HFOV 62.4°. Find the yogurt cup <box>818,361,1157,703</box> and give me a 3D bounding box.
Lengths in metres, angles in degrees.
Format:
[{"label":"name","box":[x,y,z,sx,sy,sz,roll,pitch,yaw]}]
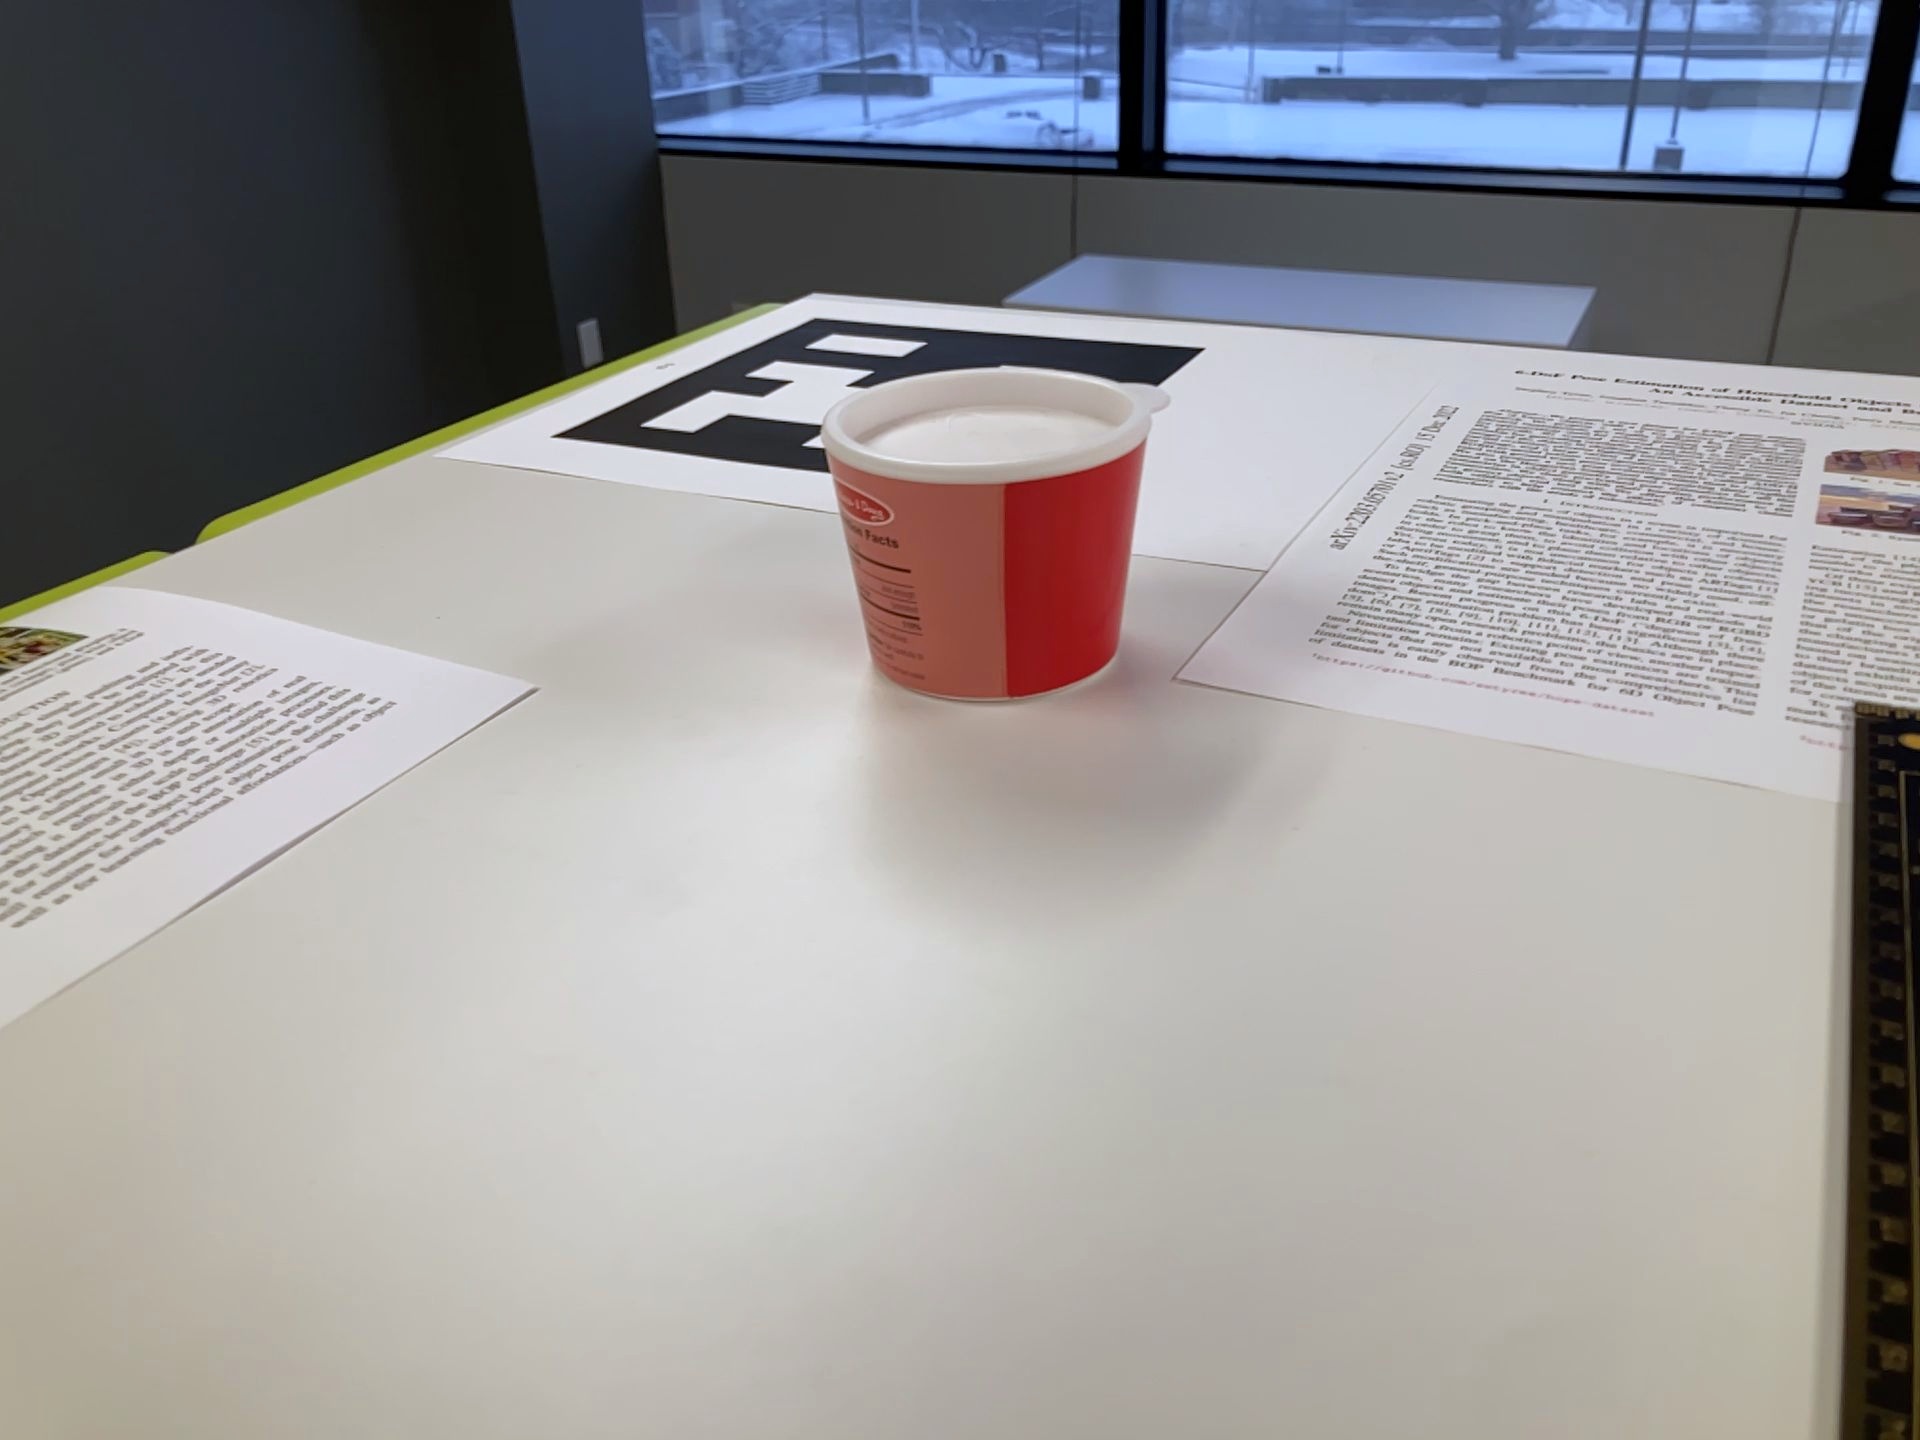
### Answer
[{"label":"yogurt cup","box":[0.007,-0.039,0.330,0.072,0.054,0.072,-3,27,2]}]
